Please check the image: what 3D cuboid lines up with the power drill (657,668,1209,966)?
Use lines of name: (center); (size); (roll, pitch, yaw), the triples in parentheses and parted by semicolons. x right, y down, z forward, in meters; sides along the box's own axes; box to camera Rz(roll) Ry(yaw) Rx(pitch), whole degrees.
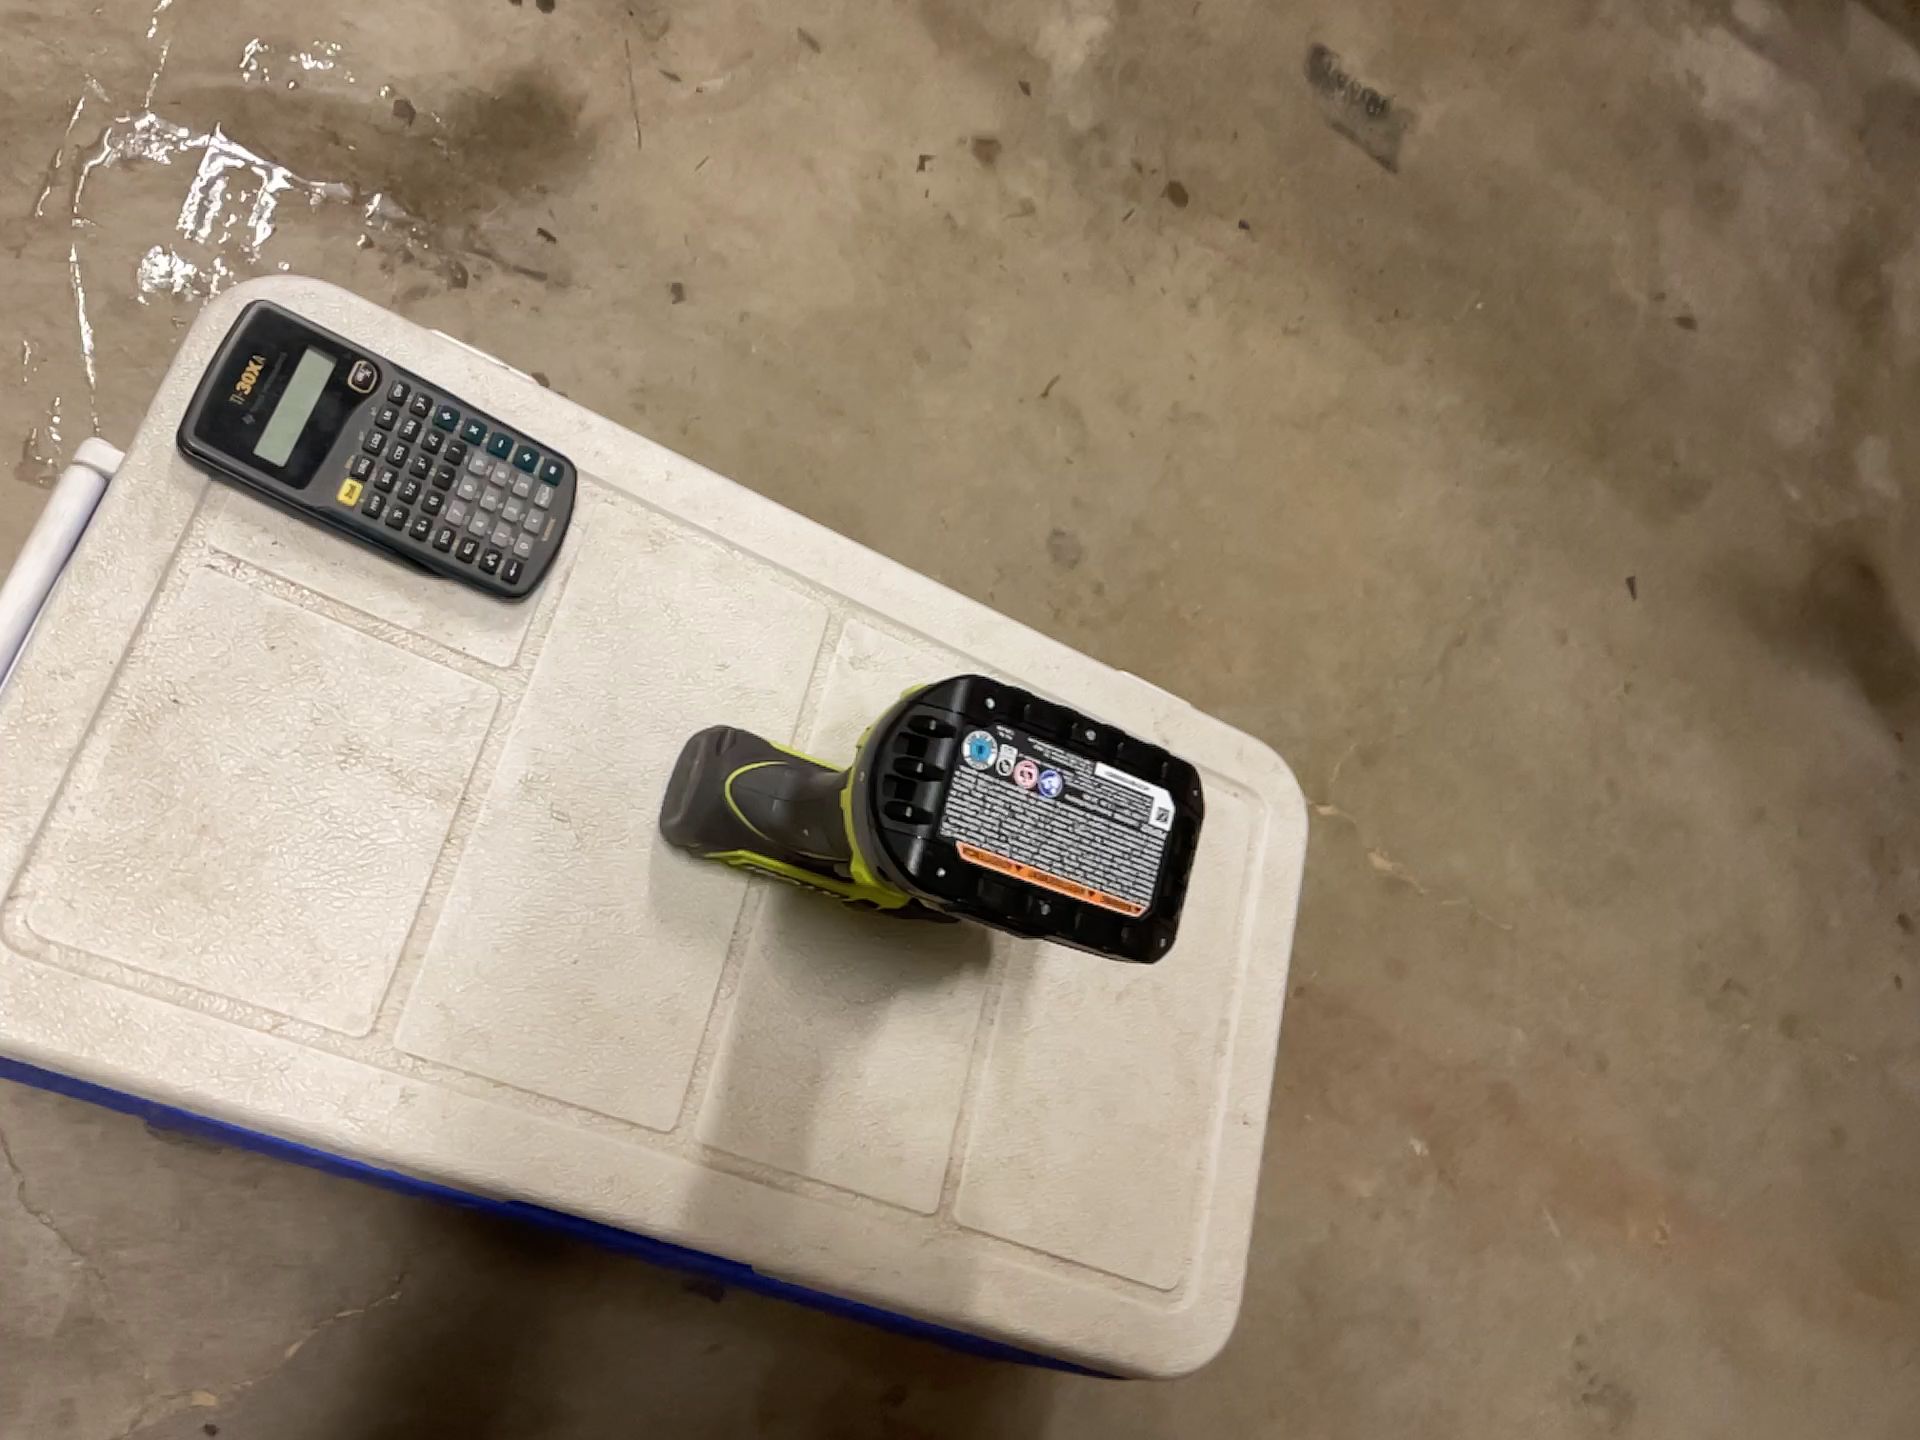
power drill: (-0.009, 0.045, 0.642); (0.171, 0.223, 0.080); (22, 76, -24)
